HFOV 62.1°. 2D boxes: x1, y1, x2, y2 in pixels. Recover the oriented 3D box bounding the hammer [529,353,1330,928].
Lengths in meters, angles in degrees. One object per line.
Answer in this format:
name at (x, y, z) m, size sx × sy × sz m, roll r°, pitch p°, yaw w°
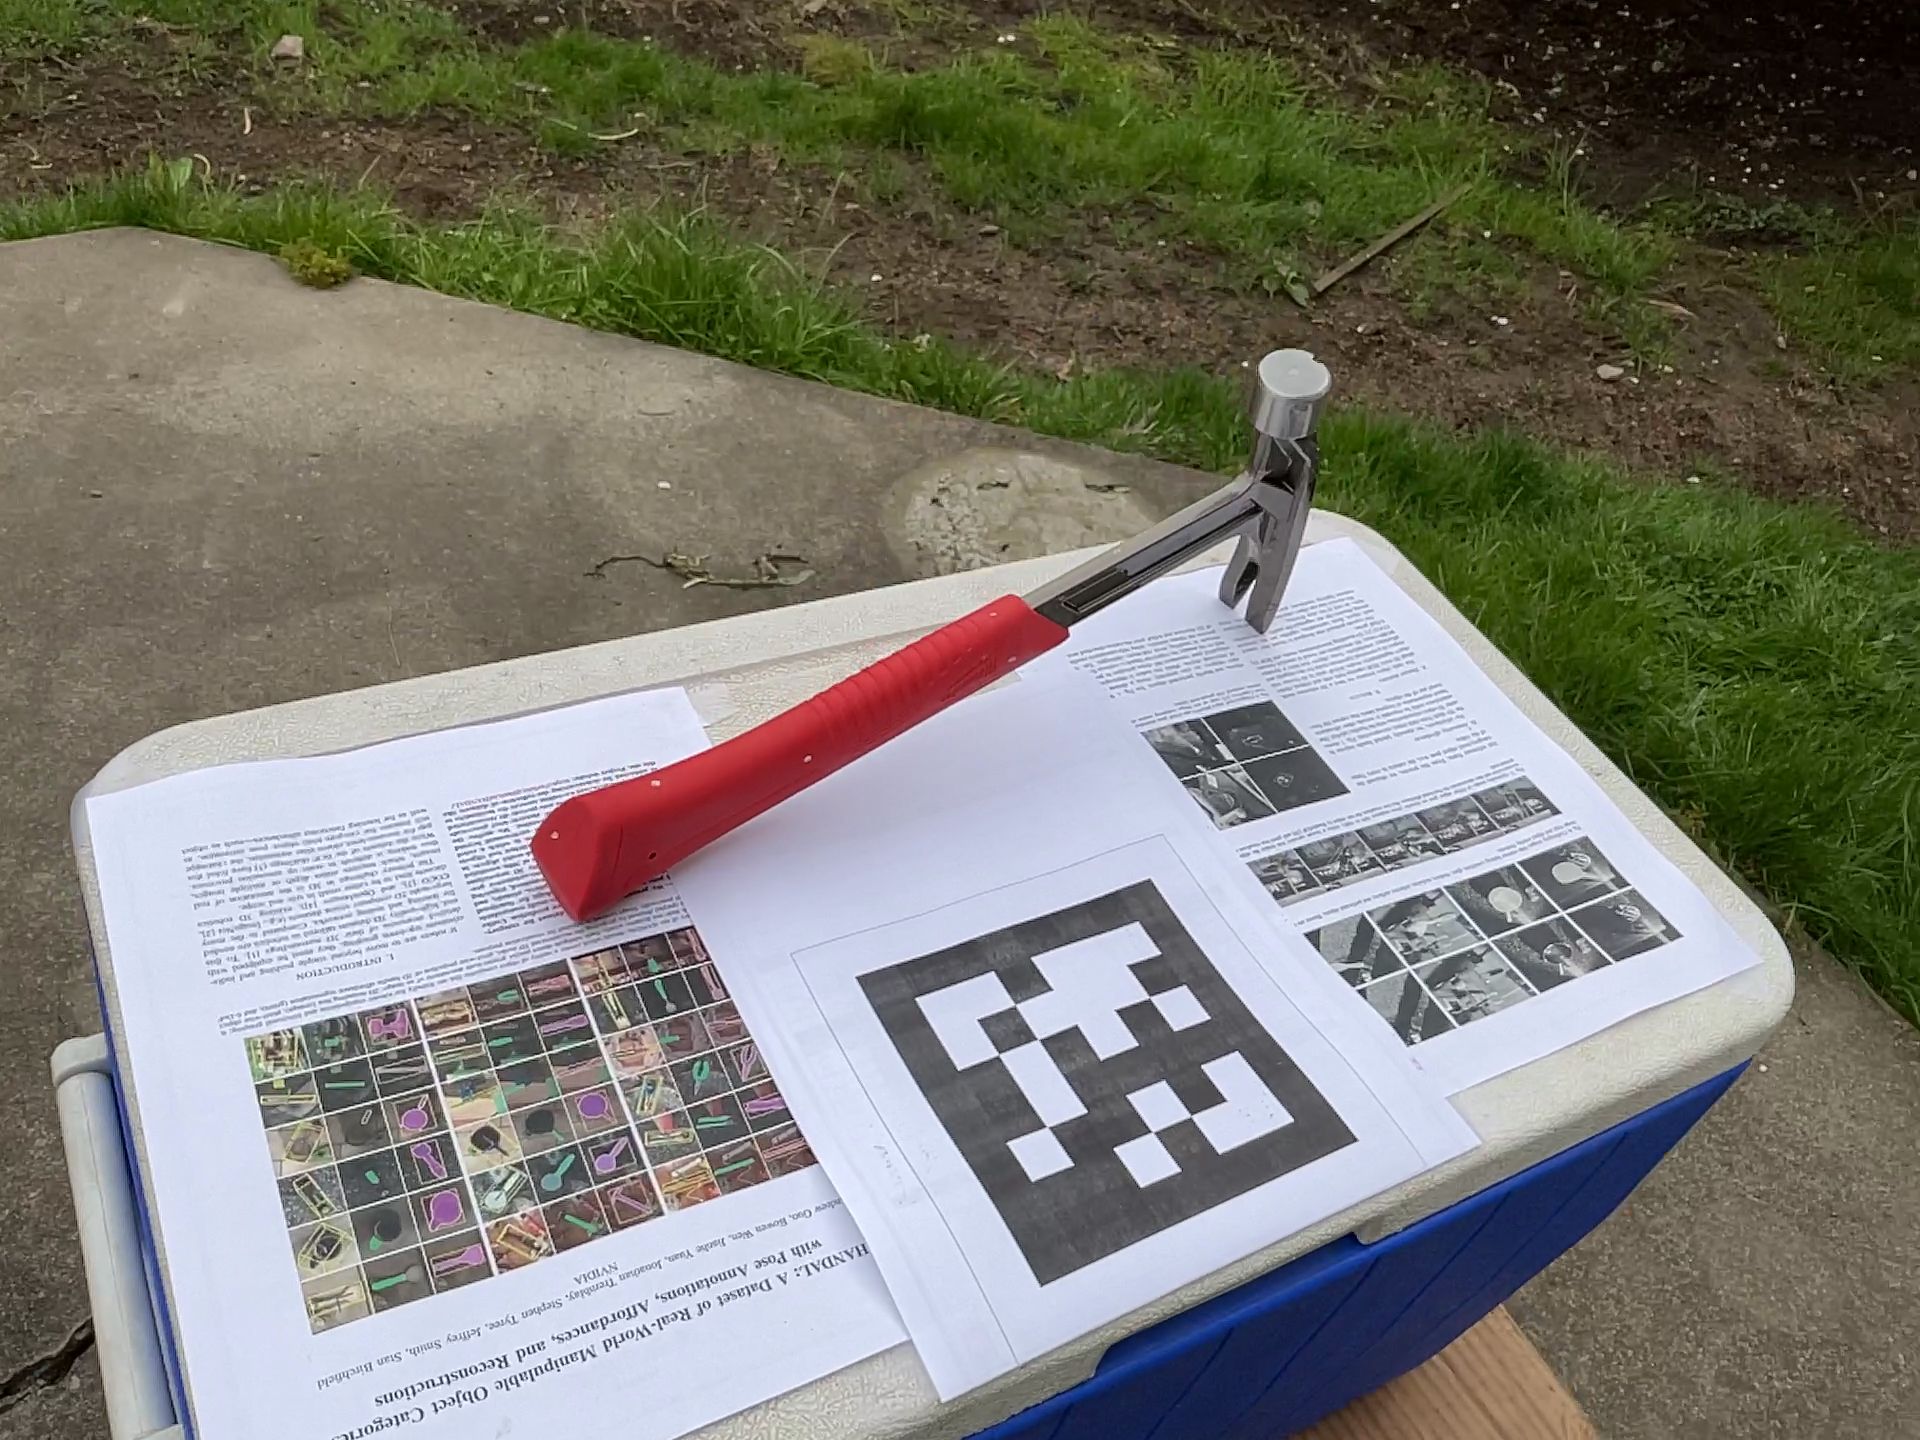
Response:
hammer at (0.002, -0.018, 0.630) m, size 0.359 × 0.149 × 0.037 m, roll -30°, pitch 59°, yaw -23°
